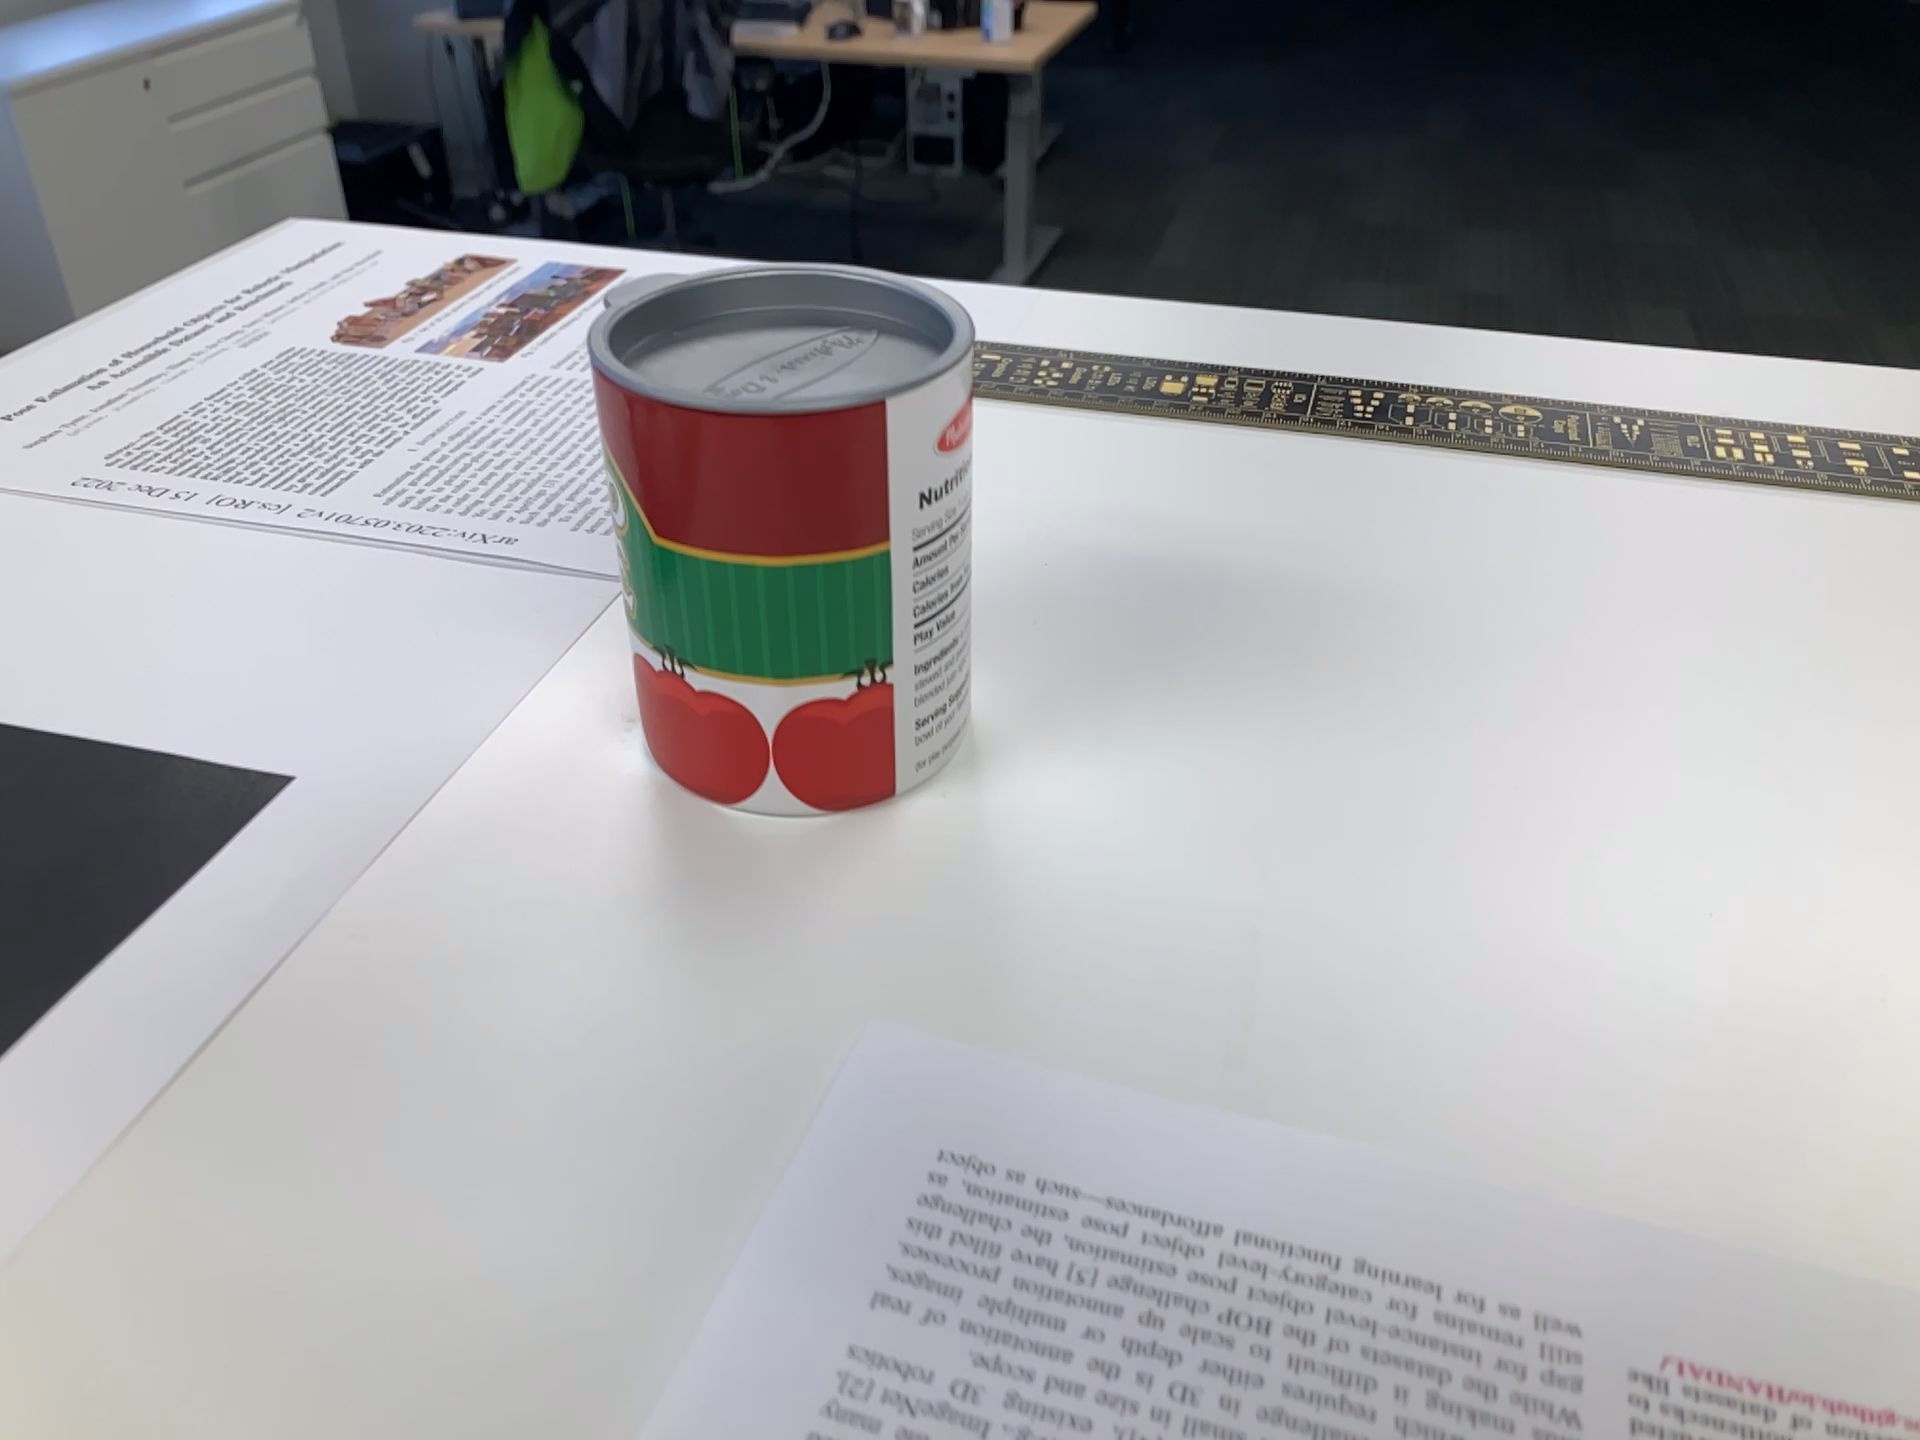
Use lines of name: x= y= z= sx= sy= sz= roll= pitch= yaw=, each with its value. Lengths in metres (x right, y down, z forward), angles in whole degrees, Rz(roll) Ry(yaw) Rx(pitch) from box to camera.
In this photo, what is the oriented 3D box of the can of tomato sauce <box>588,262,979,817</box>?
can of tomato sauce: x=-0.032 y=-0.034 z=0.295 sx=0.071 sy=0.083 sz=0.071 roll=0 pitch=34 yaw=0
